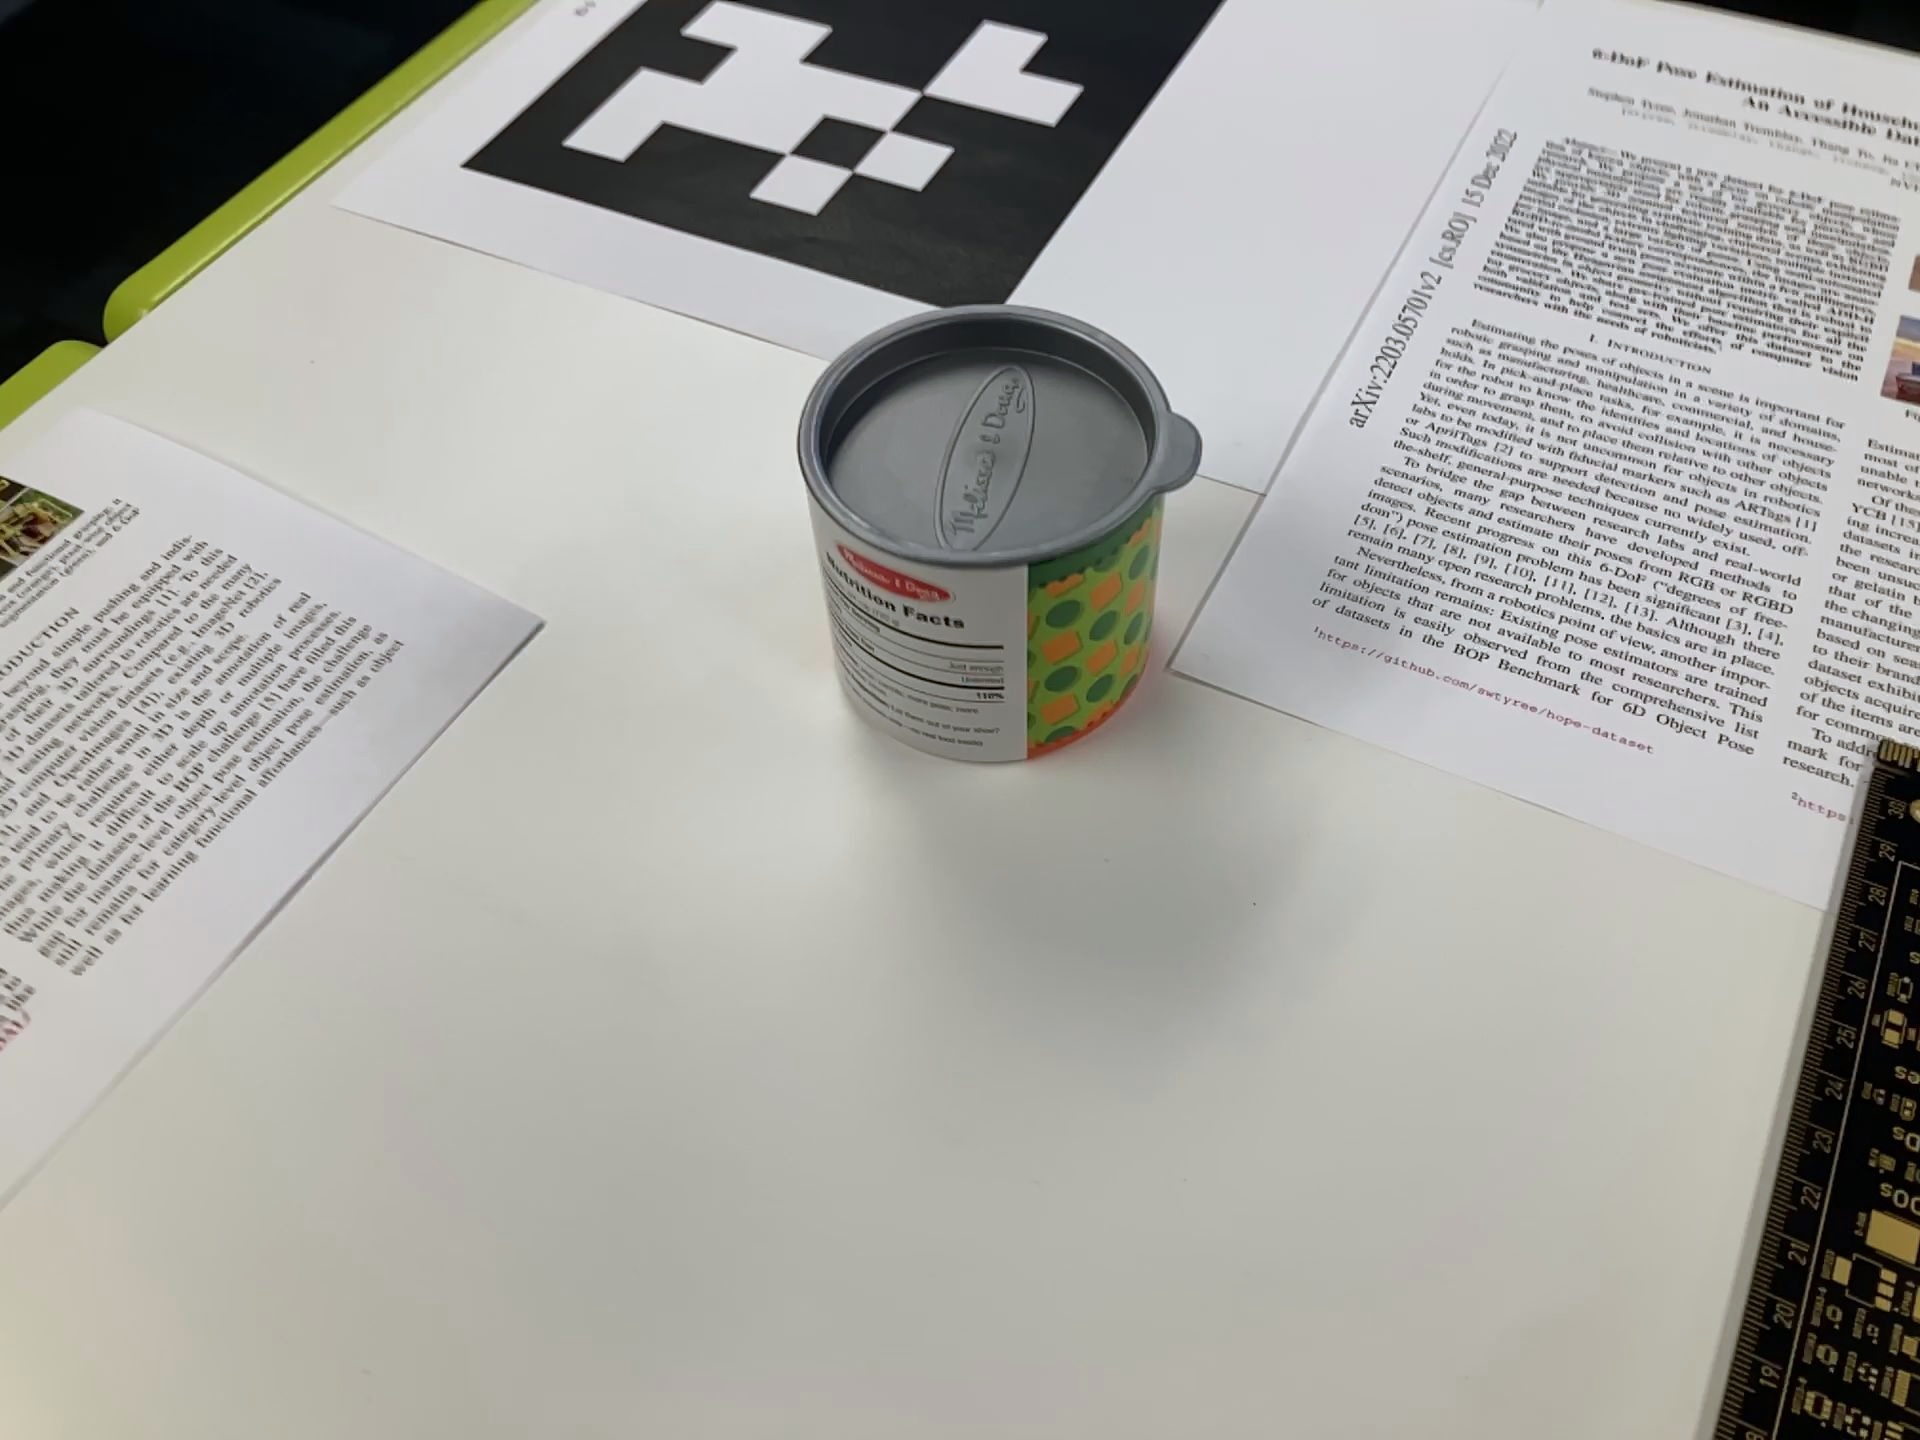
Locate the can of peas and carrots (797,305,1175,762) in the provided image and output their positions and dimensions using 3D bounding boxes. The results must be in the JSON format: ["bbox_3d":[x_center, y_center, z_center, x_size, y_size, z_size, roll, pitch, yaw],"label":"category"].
[{"bbox_3d":[0.007,-0.036,0.302,0.071,0.059,0.071,-1,53,2],"label":"can of peas and carrots"}]
